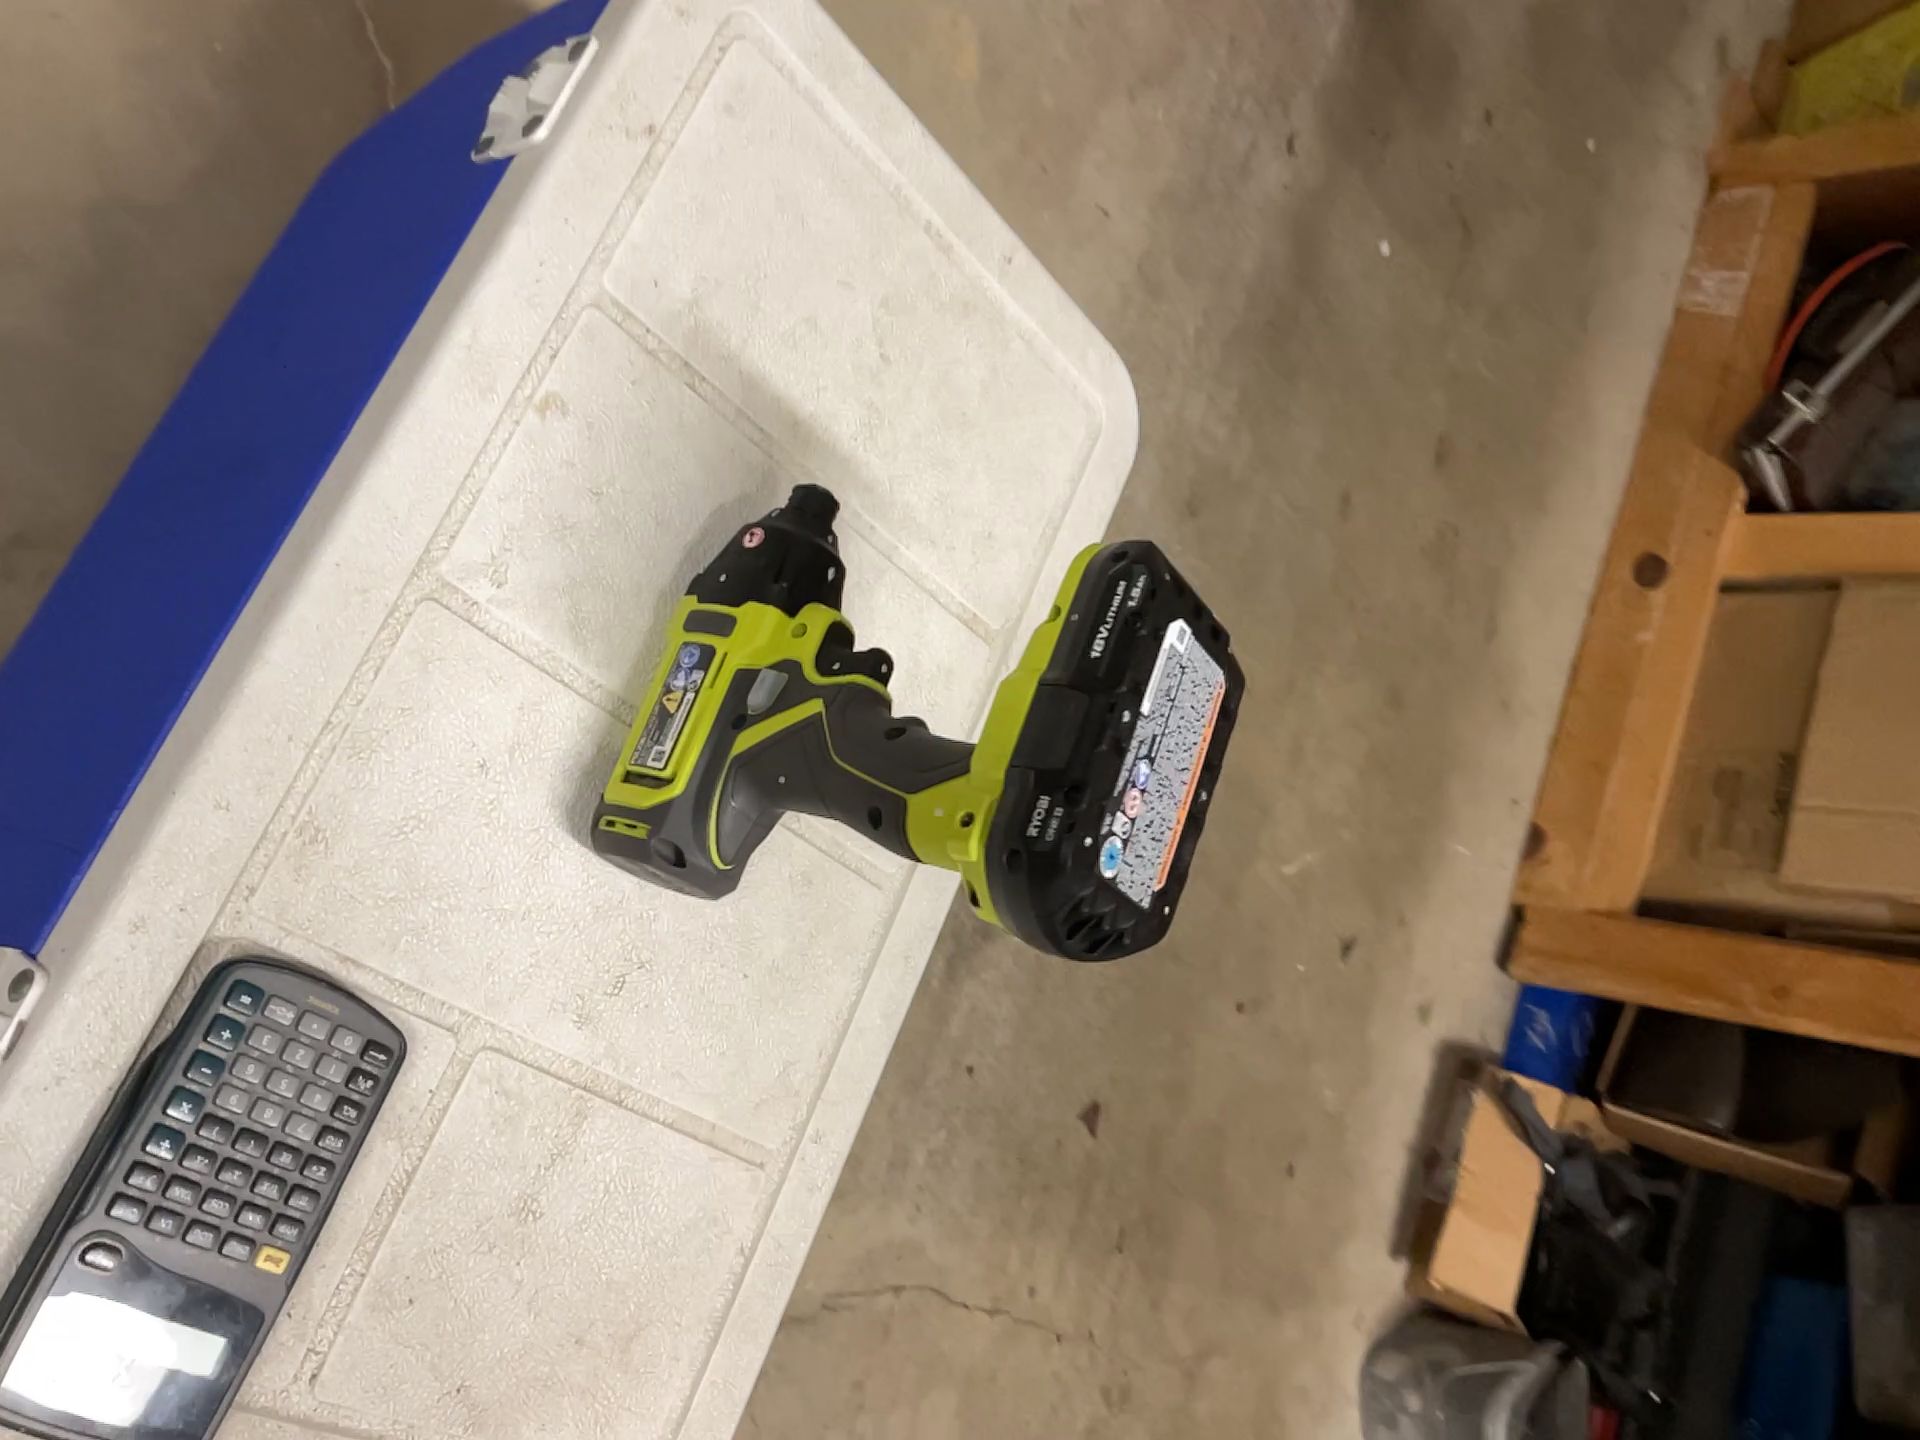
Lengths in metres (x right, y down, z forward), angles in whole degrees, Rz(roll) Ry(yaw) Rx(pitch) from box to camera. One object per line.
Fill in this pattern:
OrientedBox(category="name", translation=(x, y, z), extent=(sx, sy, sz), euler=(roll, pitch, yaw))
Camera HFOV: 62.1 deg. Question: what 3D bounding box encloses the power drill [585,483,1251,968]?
OrientedBox(category="power drill", translation=(-0.020, -0.006, 0.574), extent=(0.080, 0.223, 0.171), euler=(42, 64, -50))
